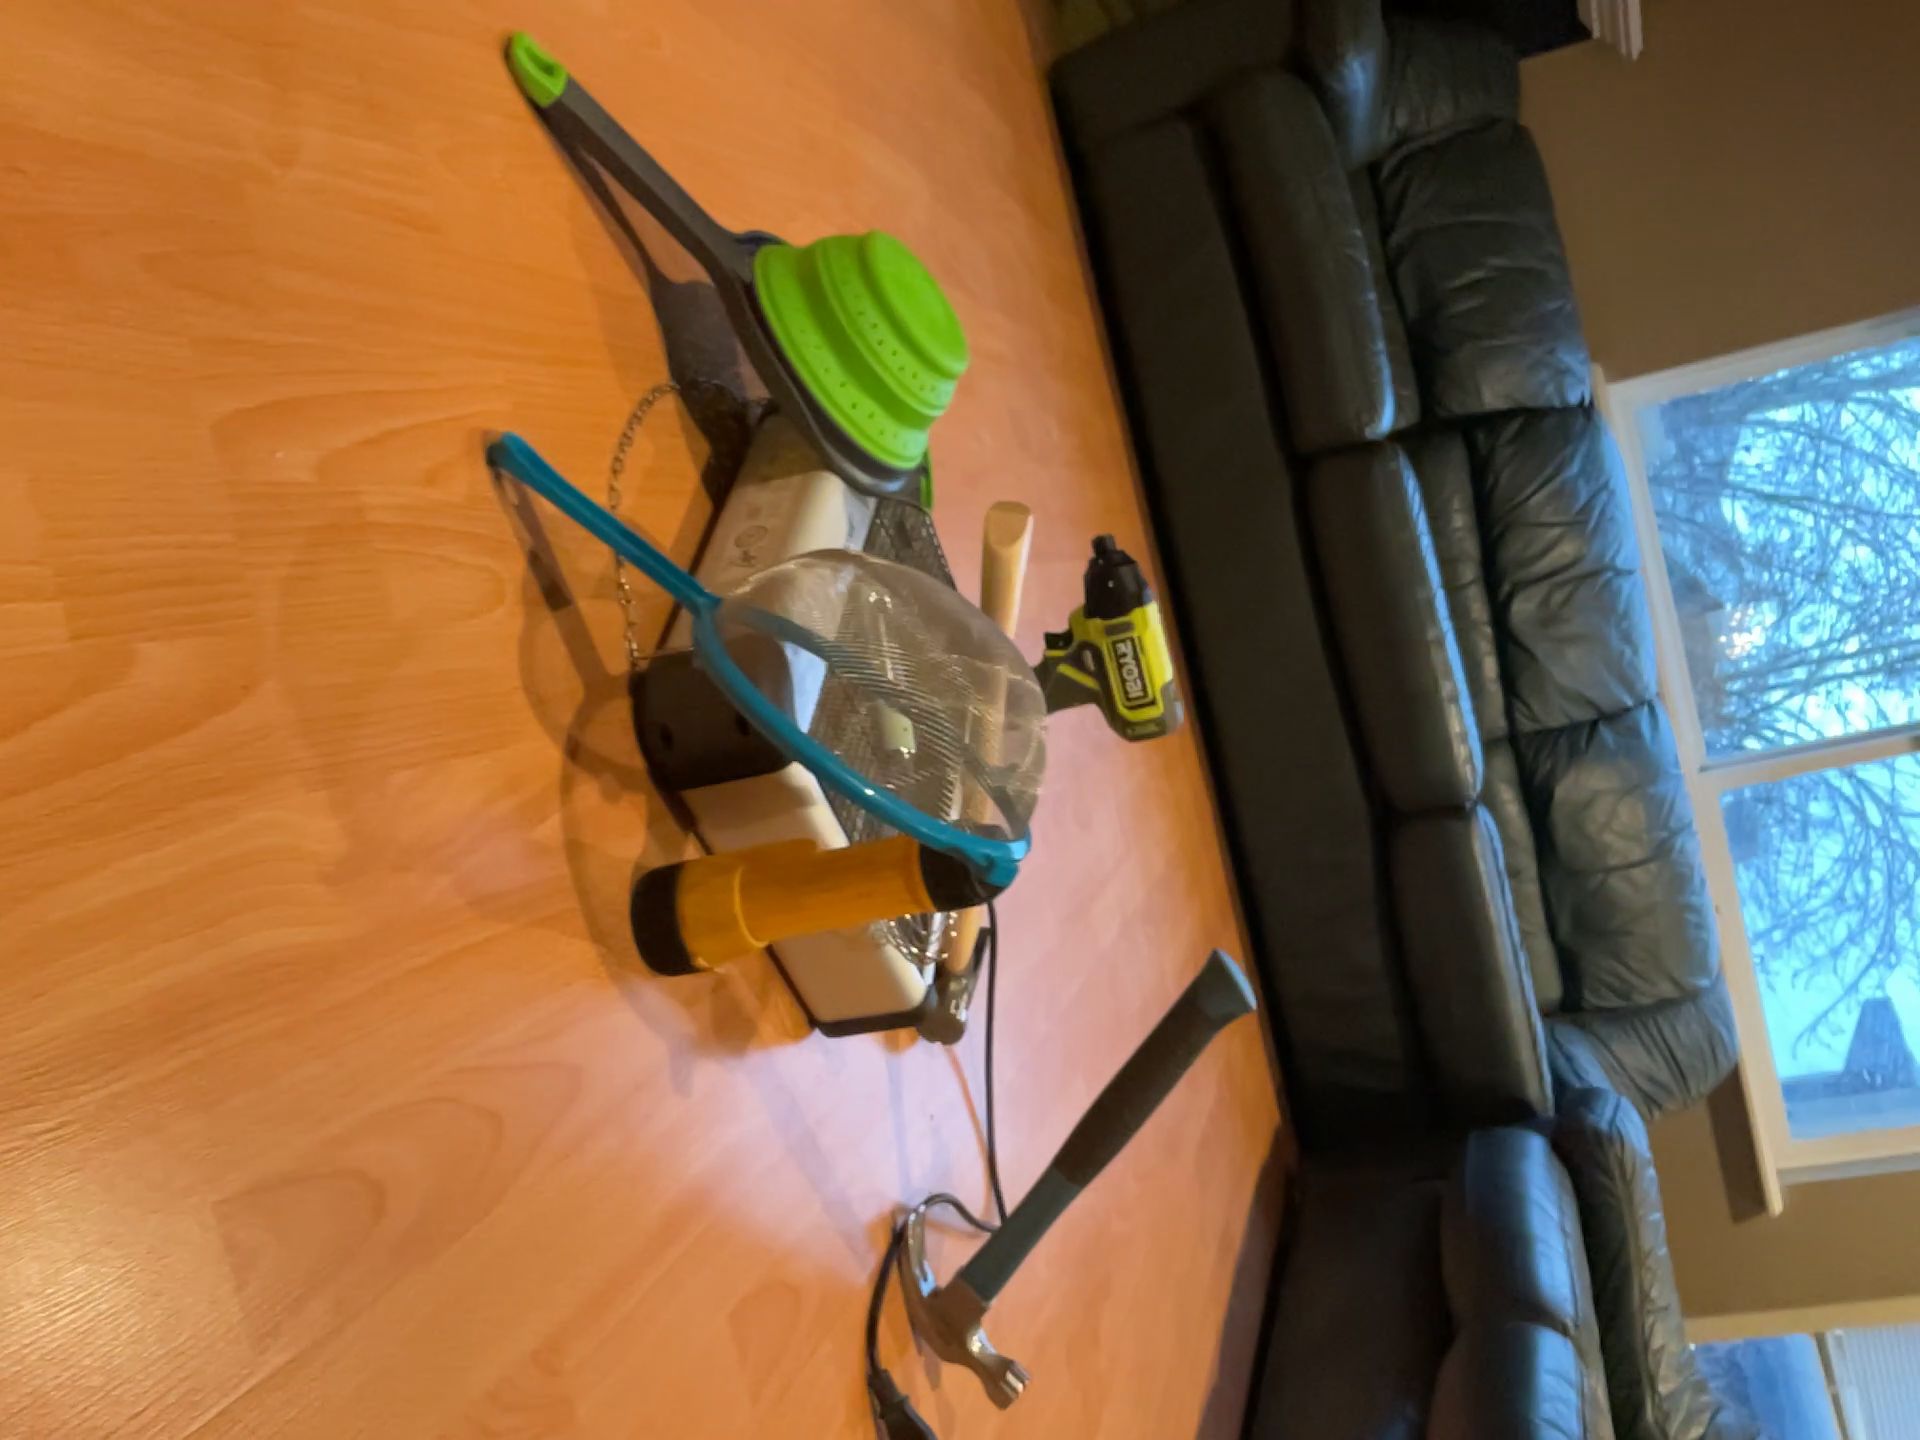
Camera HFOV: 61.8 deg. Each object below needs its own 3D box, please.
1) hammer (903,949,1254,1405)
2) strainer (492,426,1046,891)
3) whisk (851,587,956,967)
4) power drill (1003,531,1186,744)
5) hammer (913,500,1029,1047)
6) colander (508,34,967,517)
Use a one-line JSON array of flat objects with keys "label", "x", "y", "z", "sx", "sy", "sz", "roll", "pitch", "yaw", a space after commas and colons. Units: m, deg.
[{"label": "hammer", "x": 0.081, "y": 0.289, "z": 1.057, "sx": 0.128, "sy": 0.331, "sz": 0.033, "roll": 40, "pitch": 11, "yaw": 14}, {"label": "strainer", "x": -0.078, "y": -0.065, "z": 0.817, "sx": 0.340, "sy": 0.095, "sz": 0.211, "roll": 39, "pitch": 12, "yaw": -4}, {"label": "whisk", "x": -0.039, "y": 0.030, "z": 0.985, "sx": 0.058, "sy": 0.059, "sz": 0.246, "roll": 8, "pitch": 64, "yaw": -41}, {"label": "power drill", "x": 0.060, "y": -0.051, "z": 1.331, "sx": 0.080, "sy": 0.223, "sz": 0.171, "roll": -37, "pitch": 113, "yaw": -72}, {"label": "hammer", "x": 0.015, "y": 0.035, "z": 1.181, "sx": 0.146, "sy": 0.038, "sz": 0.410, "roll": -65, "pitch": 163, "yaw": -62}, {"label": "colander", "x": -0.111, "y": -0.299, "z": 1.028, "sx": 0.397, "sy": 0.094, "sz": 0.205, "roll": 41, "pitch": 29, "yaw": -36}]
